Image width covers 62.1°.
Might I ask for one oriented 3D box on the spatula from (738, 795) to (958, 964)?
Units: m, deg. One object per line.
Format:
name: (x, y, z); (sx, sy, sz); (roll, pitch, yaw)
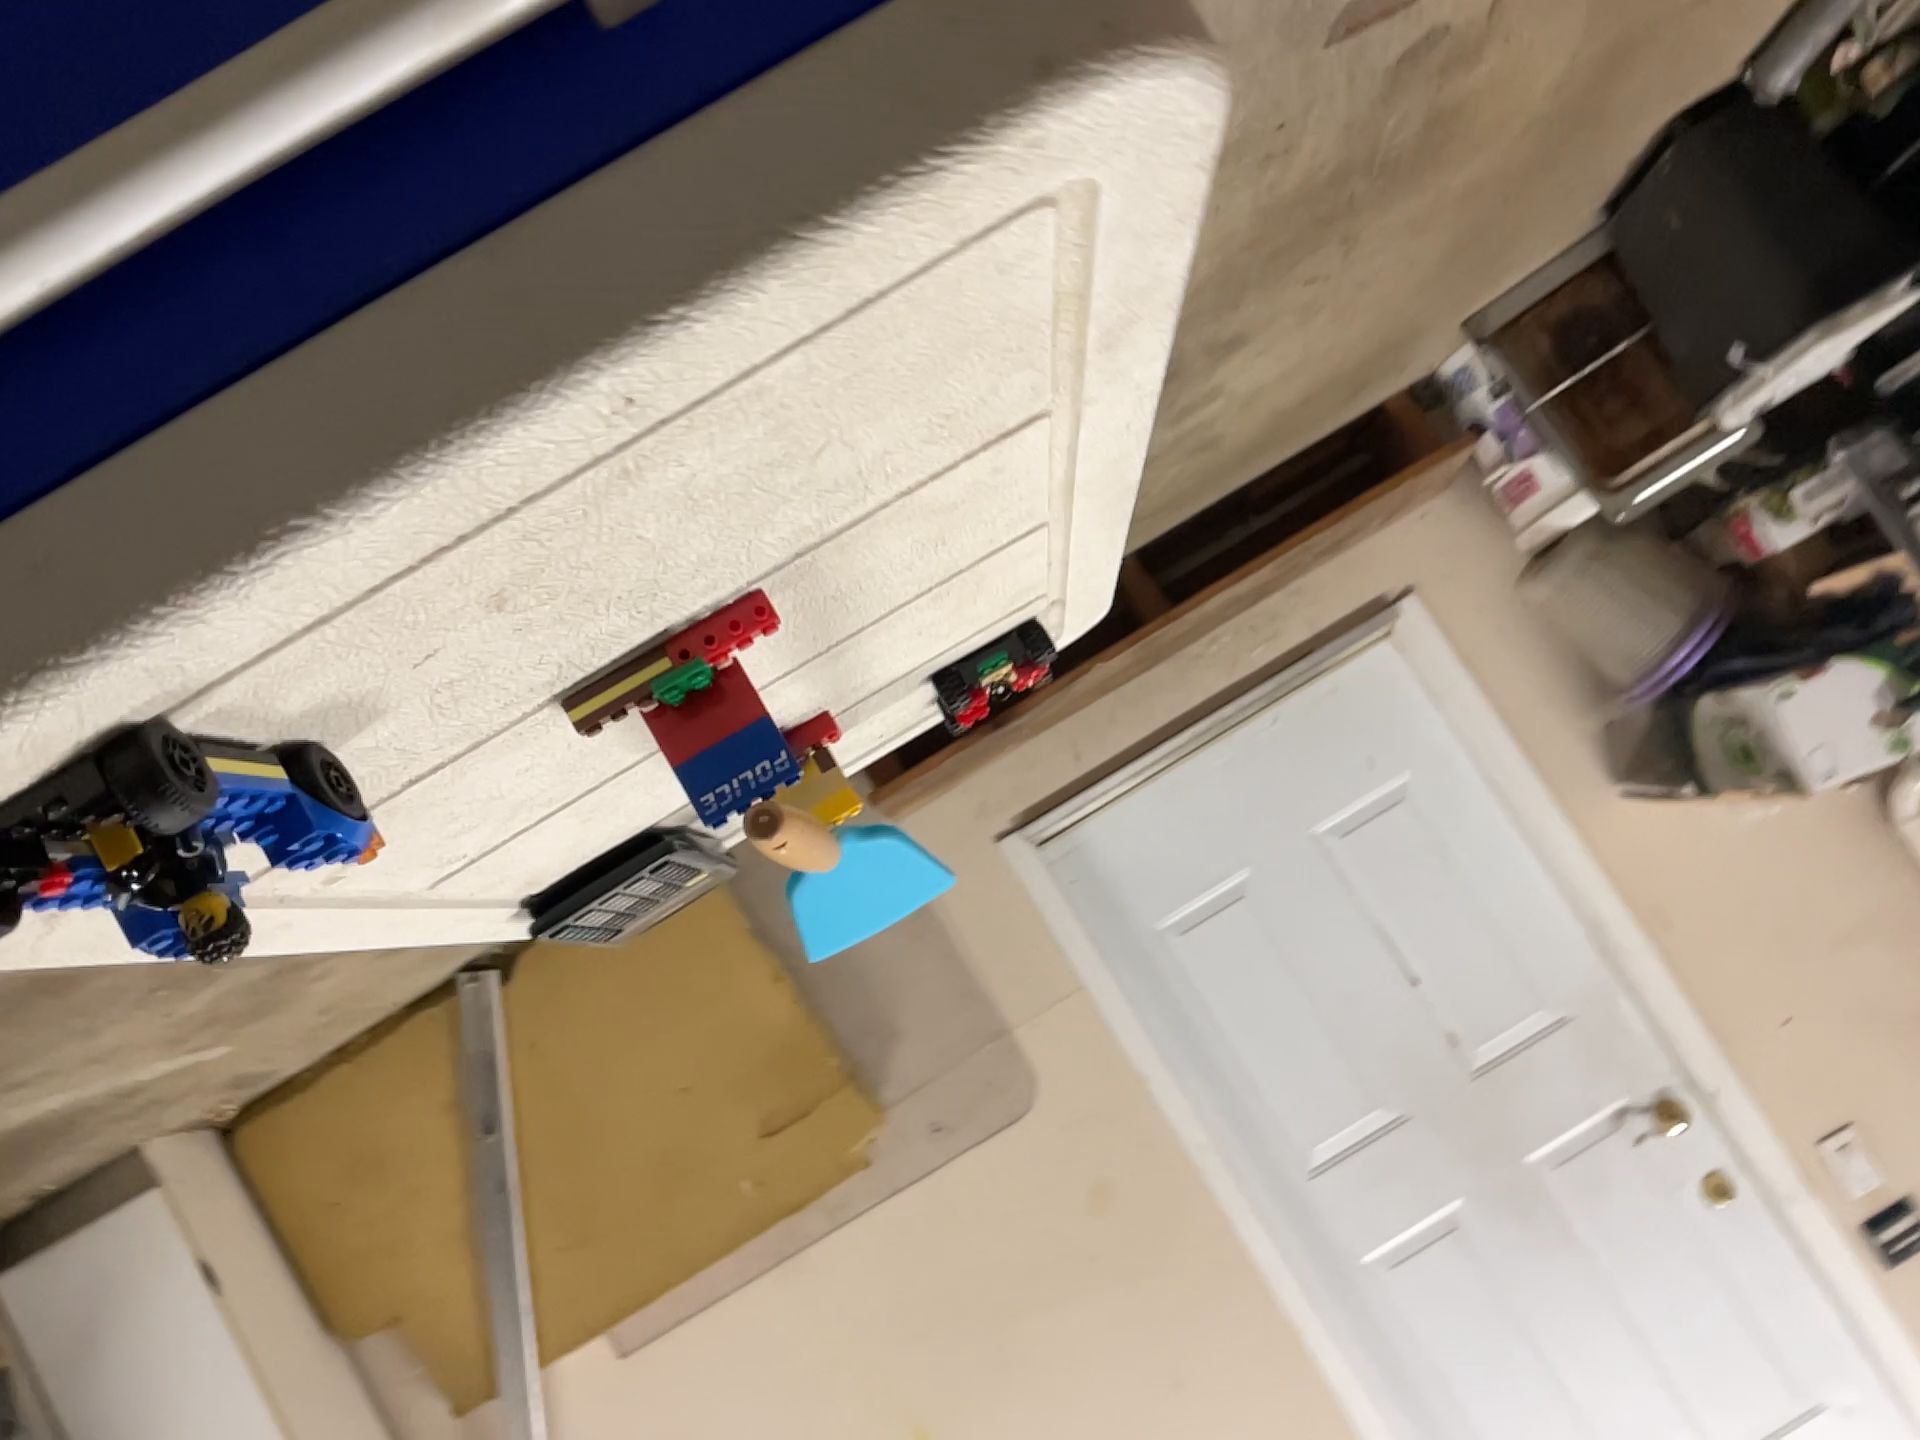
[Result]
spatula: (-0.048, 0.056, 0.594); (0.082, 0.044, 0.317); (-28, 173, -3)
